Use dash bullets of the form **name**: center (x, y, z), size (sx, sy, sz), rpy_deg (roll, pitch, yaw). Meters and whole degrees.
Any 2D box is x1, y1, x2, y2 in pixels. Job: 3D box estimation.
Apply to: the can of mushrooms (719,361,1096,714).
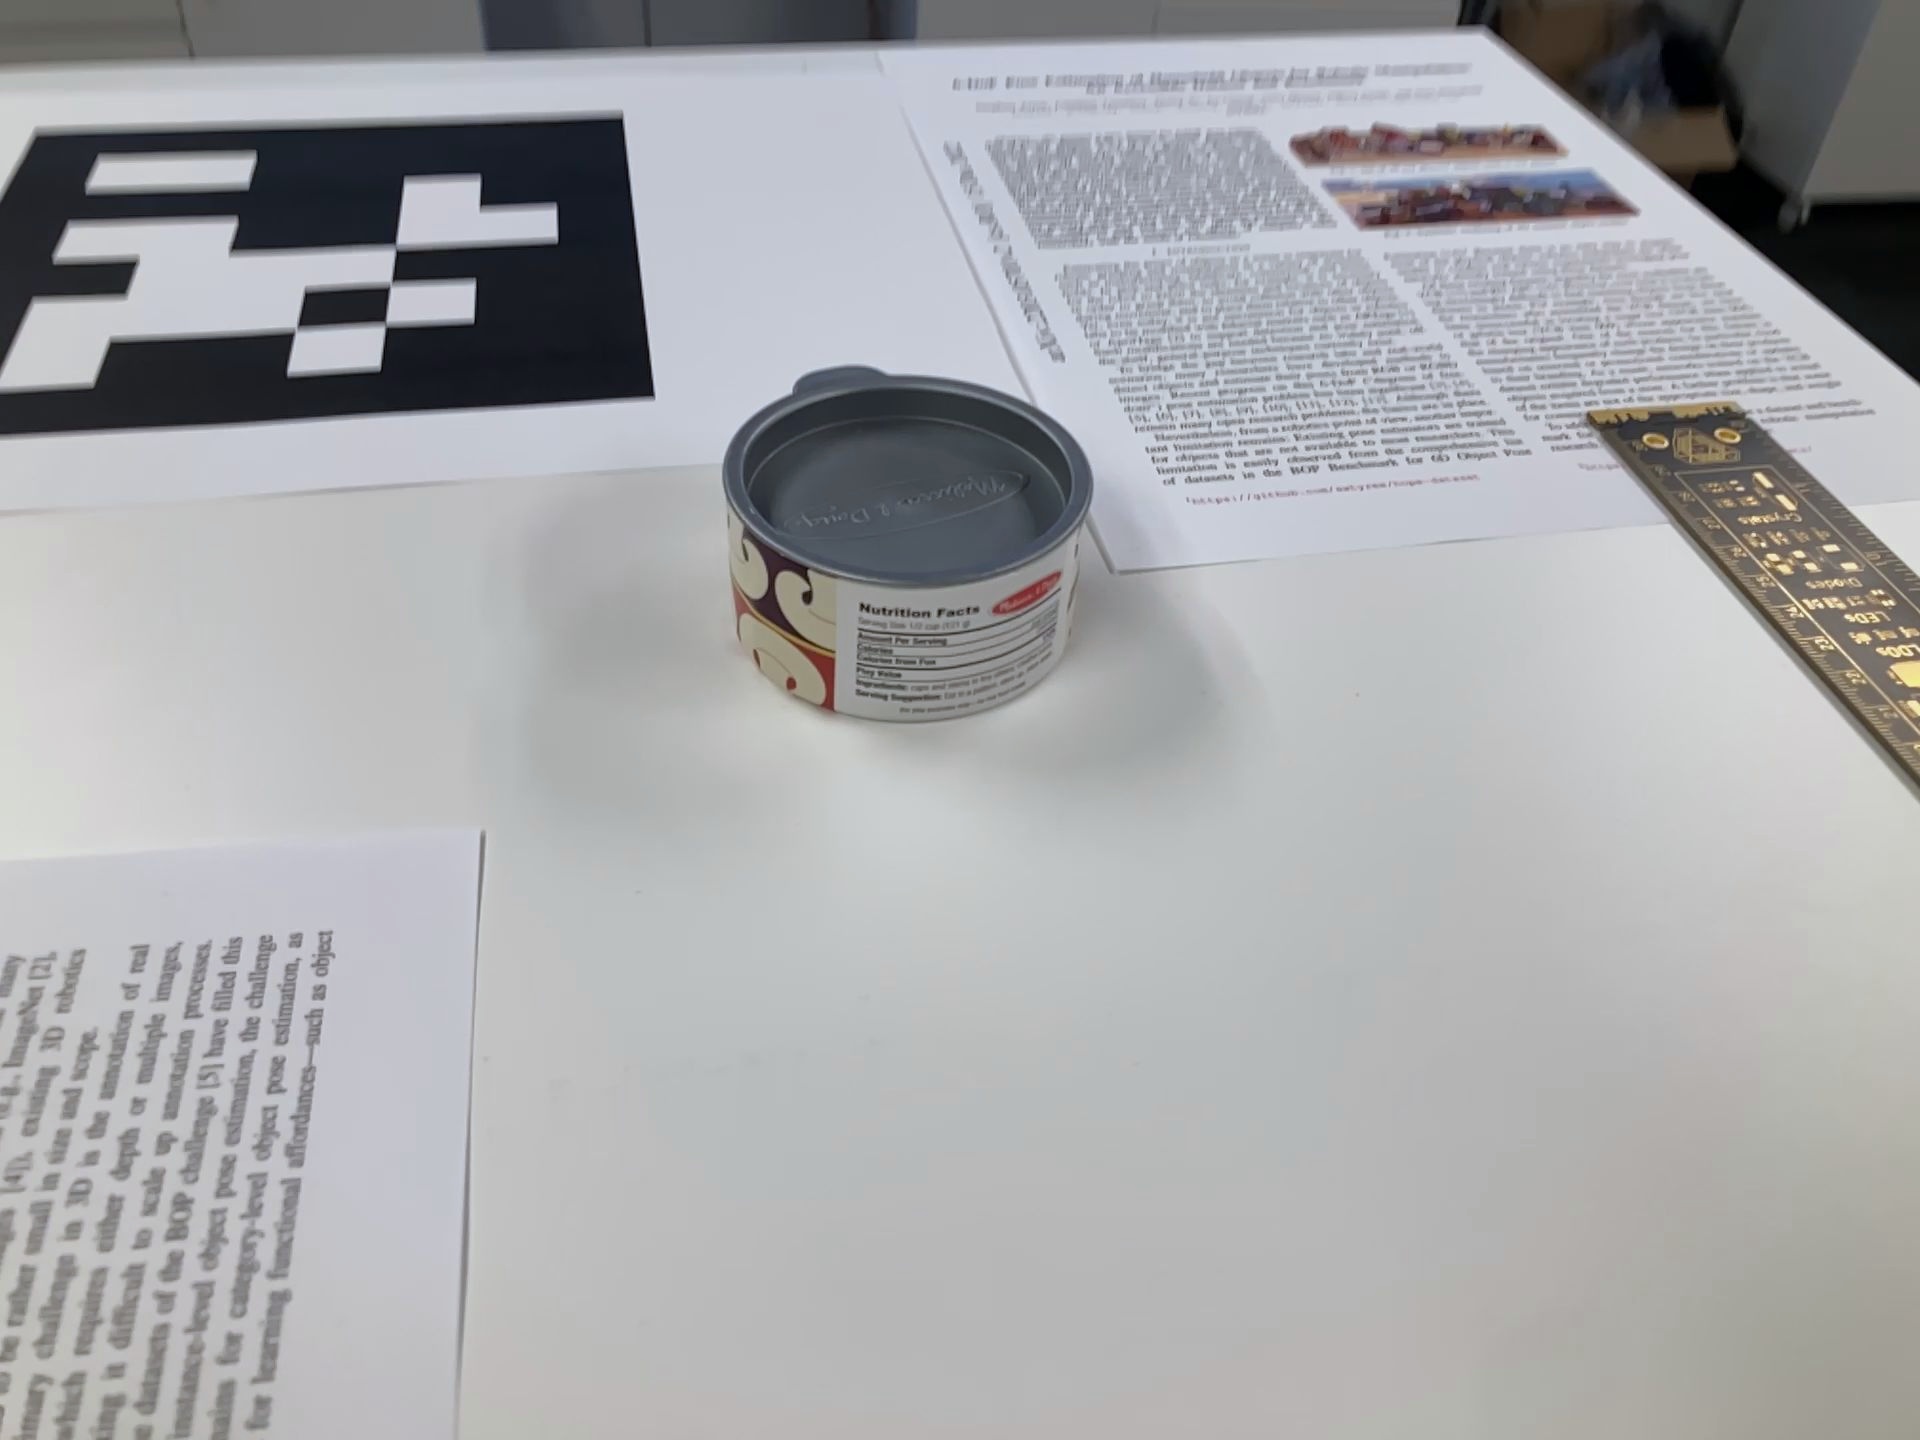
- **can of mushrooms**: center (-0.011, -0.035, 0.292), size (0.071, 0.033, 0.071), rpy_deg (2, 42, -2)
